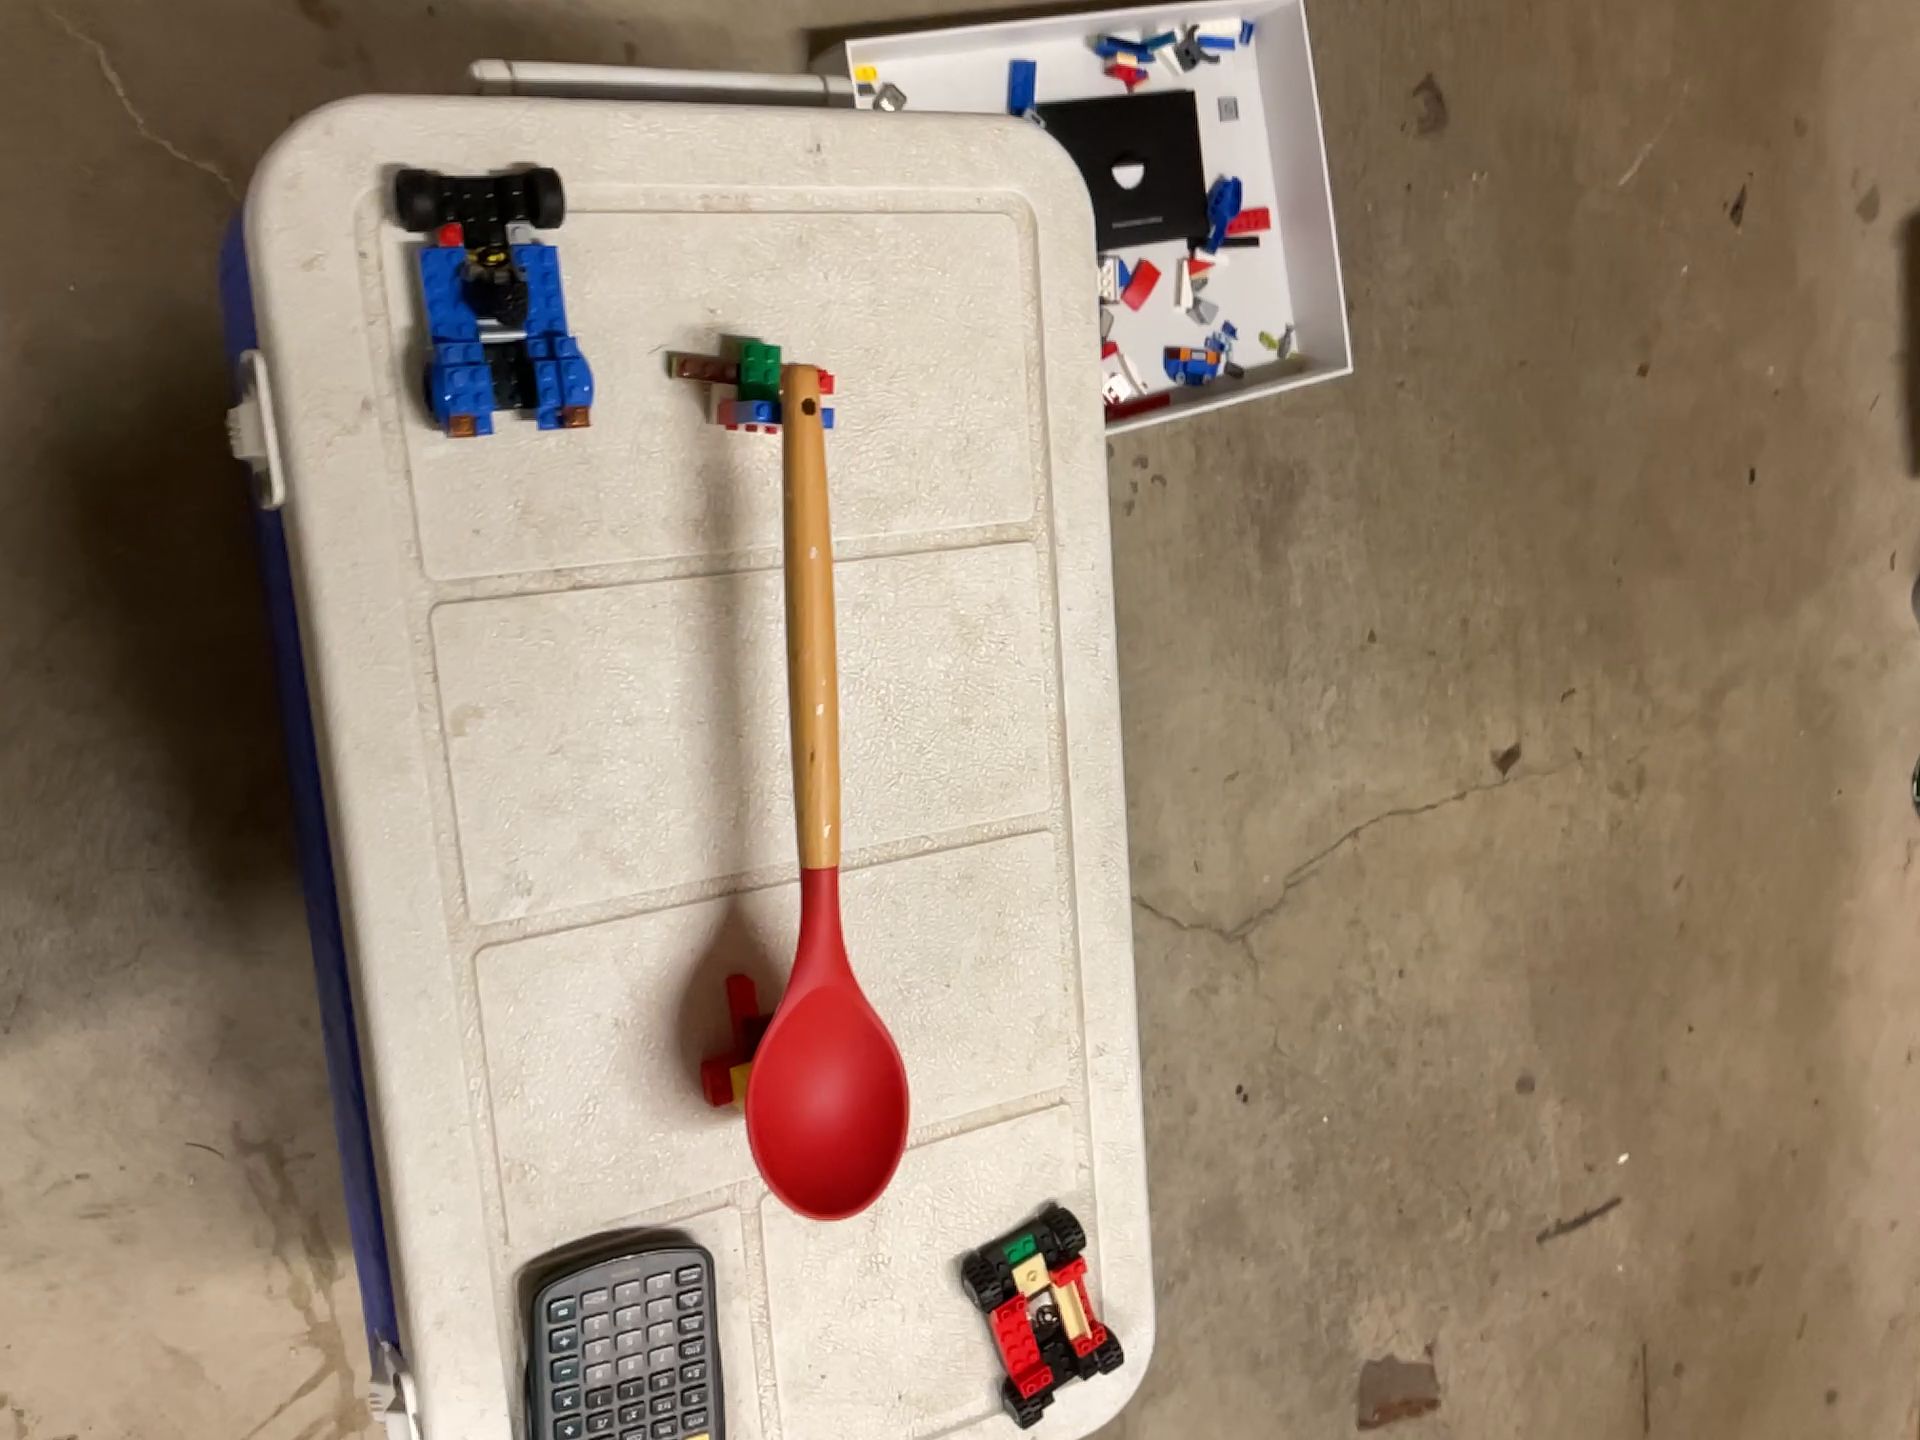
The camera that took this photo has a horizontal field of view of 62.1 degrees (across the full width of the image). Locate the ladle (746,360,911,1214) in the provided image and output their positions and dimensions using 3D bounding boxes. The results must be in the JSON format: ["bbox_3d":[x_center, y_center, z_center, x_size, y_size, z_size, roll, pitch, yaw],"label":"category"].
[{"bbox_3d":[-0.054,0.028,0.592,0.069,0.031,0.315,-6,99,-33],"label":"ladle"}]
